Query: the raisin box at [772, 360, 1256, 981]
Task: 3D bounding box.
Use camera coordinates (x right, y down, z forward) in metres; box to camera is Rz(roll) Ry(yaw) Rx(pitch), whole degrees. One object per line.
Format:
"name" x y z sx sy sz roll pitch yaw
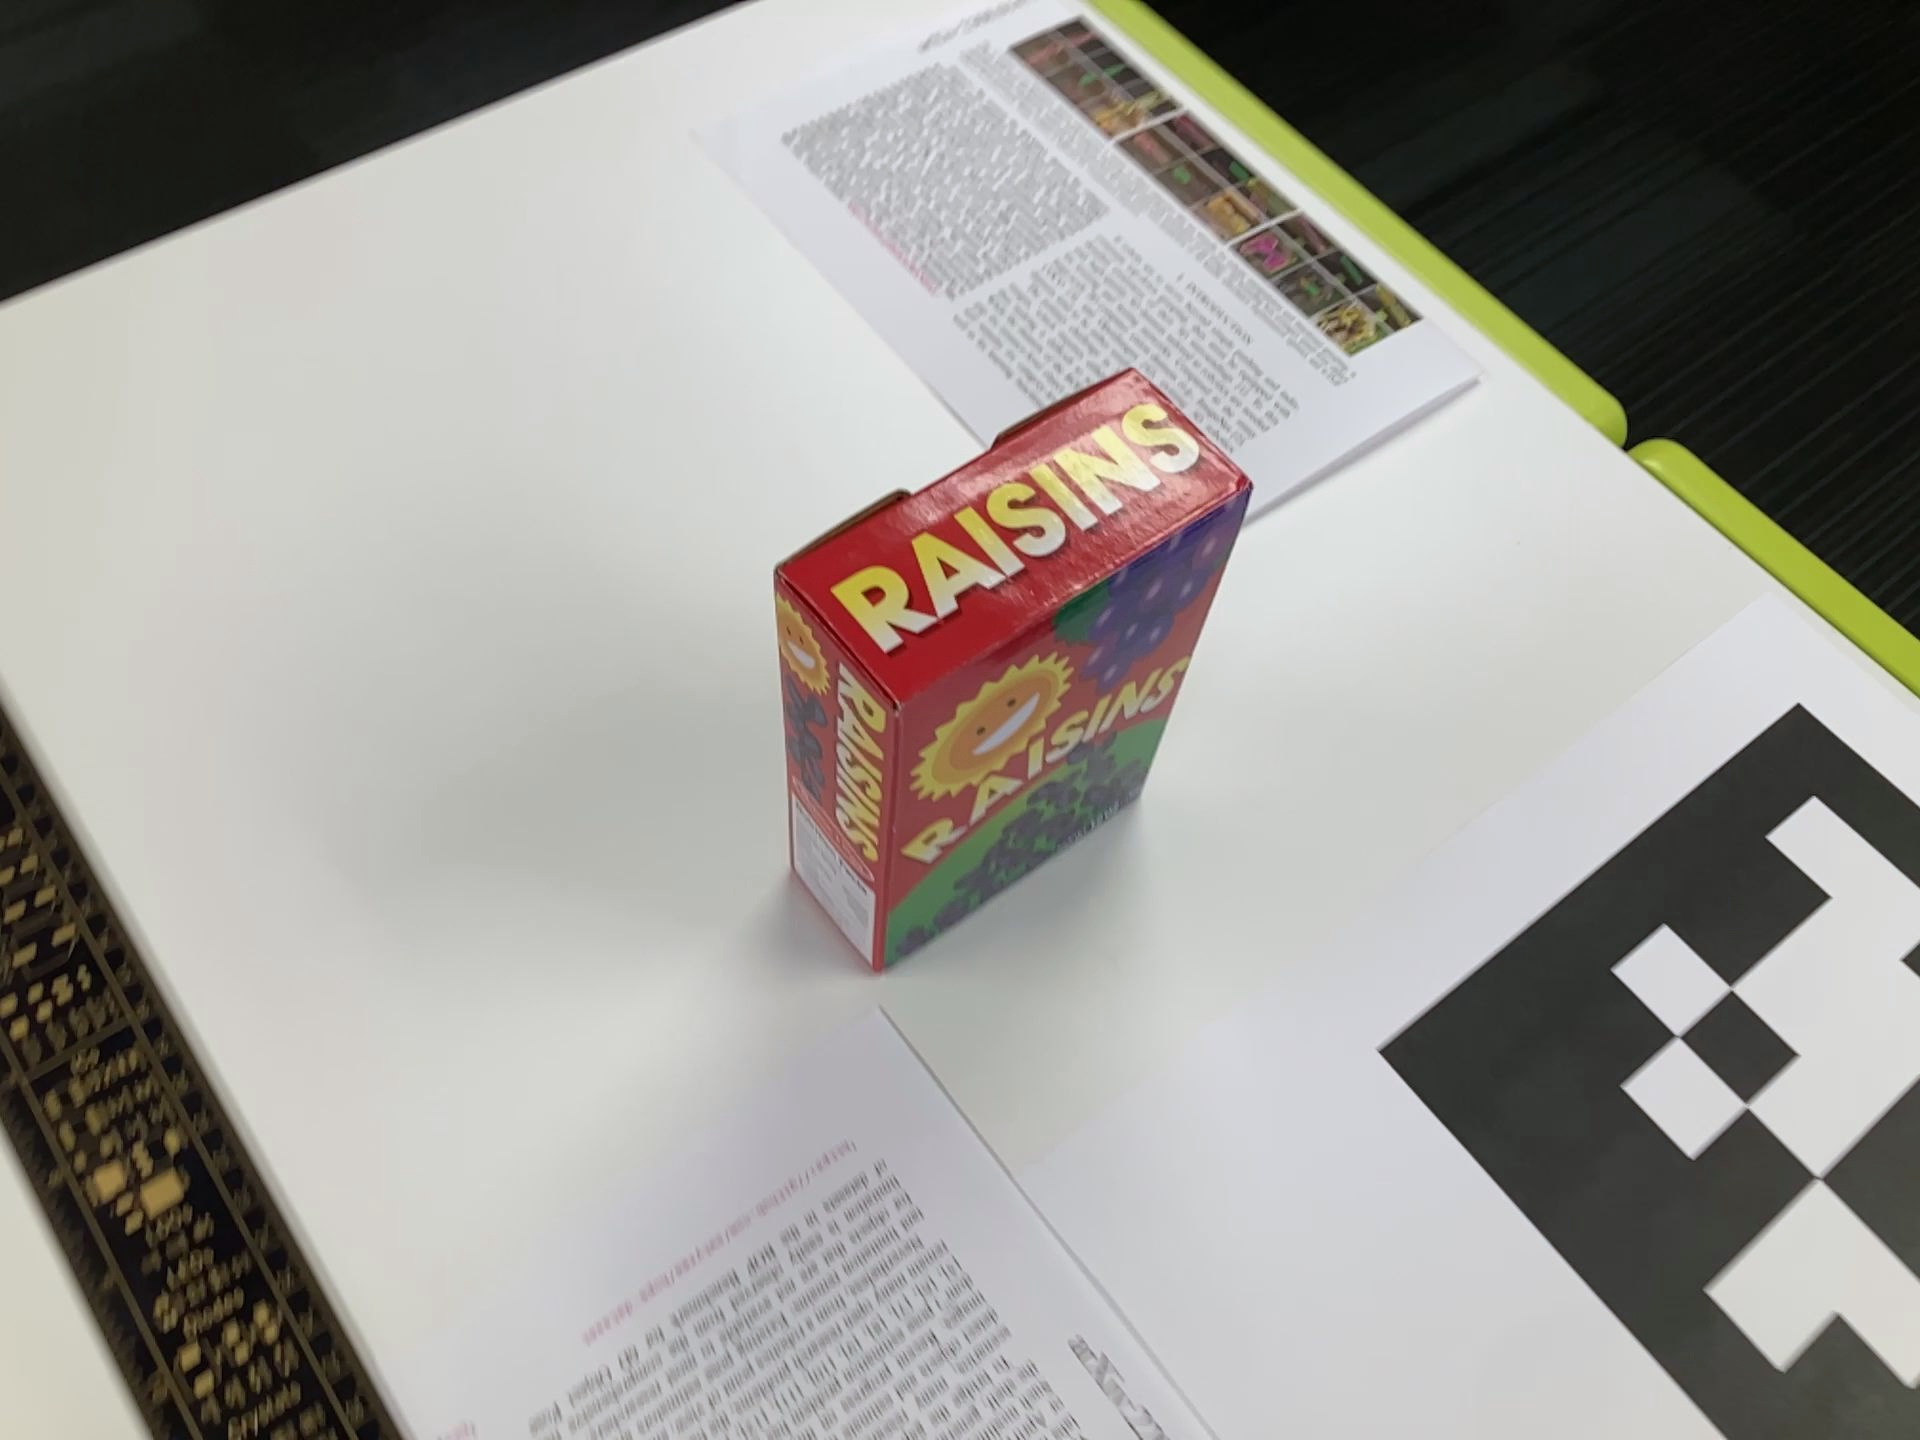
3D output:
"raisin box" 0.007 -0.005 0.333 0.086 0.123 0.040 -32 67 -21
